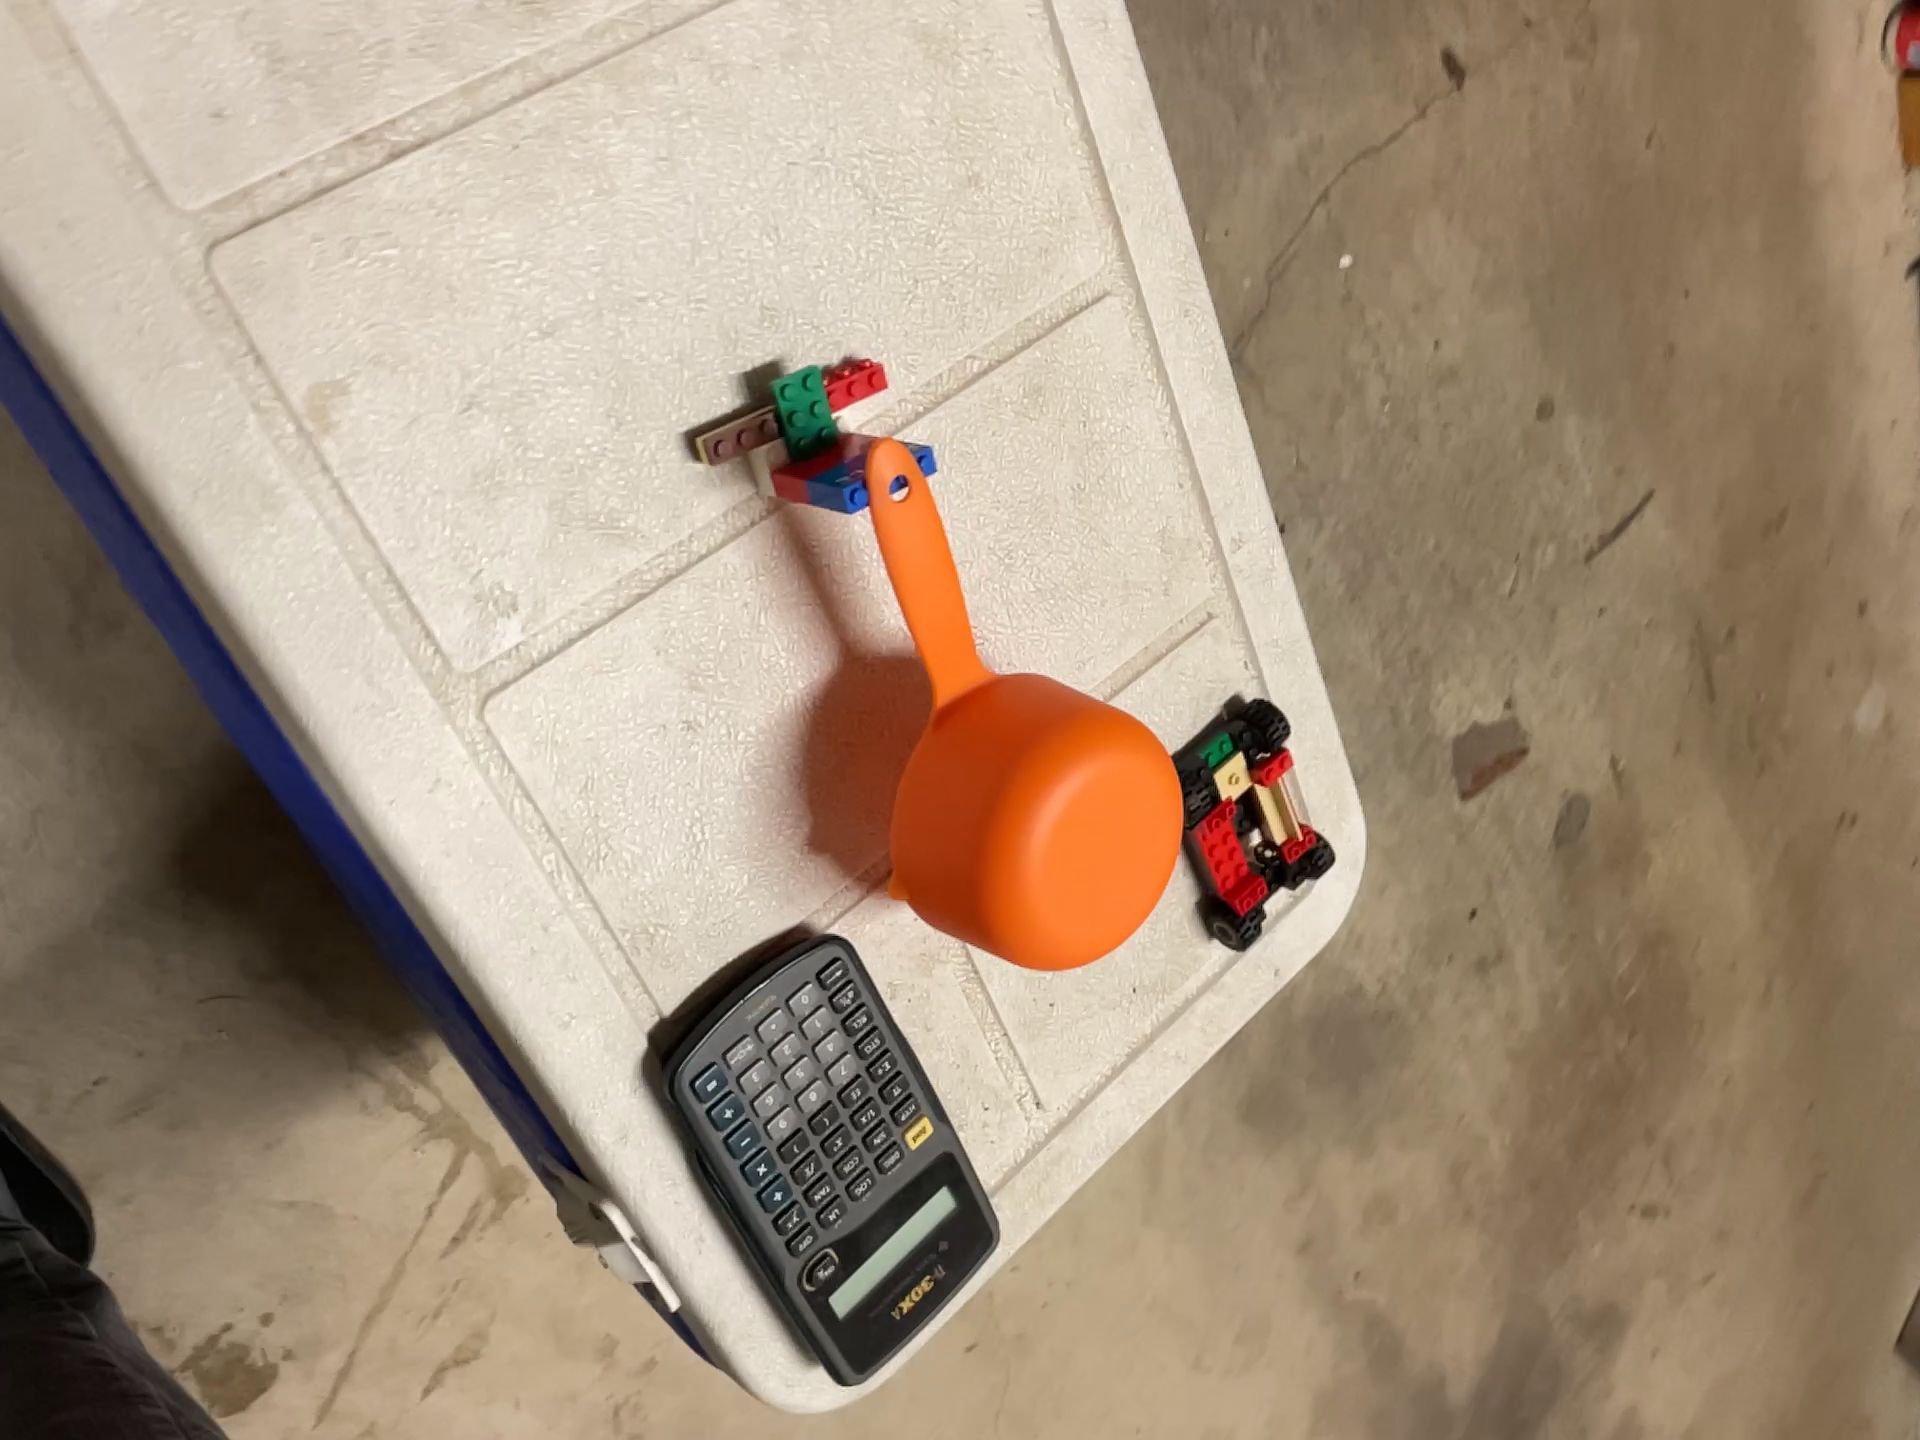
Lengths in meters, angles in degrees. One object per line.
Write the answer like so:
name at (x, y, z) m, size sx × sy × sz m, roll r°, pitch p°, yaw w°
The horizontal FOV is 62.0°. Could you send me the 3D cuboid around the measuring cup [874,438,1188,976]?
measuring cup at (0.017, 0.000, 0.464) m, size 0.095 × 0.052 × 0.173 m, roll -36°, pitch 127°, yaw -26°
